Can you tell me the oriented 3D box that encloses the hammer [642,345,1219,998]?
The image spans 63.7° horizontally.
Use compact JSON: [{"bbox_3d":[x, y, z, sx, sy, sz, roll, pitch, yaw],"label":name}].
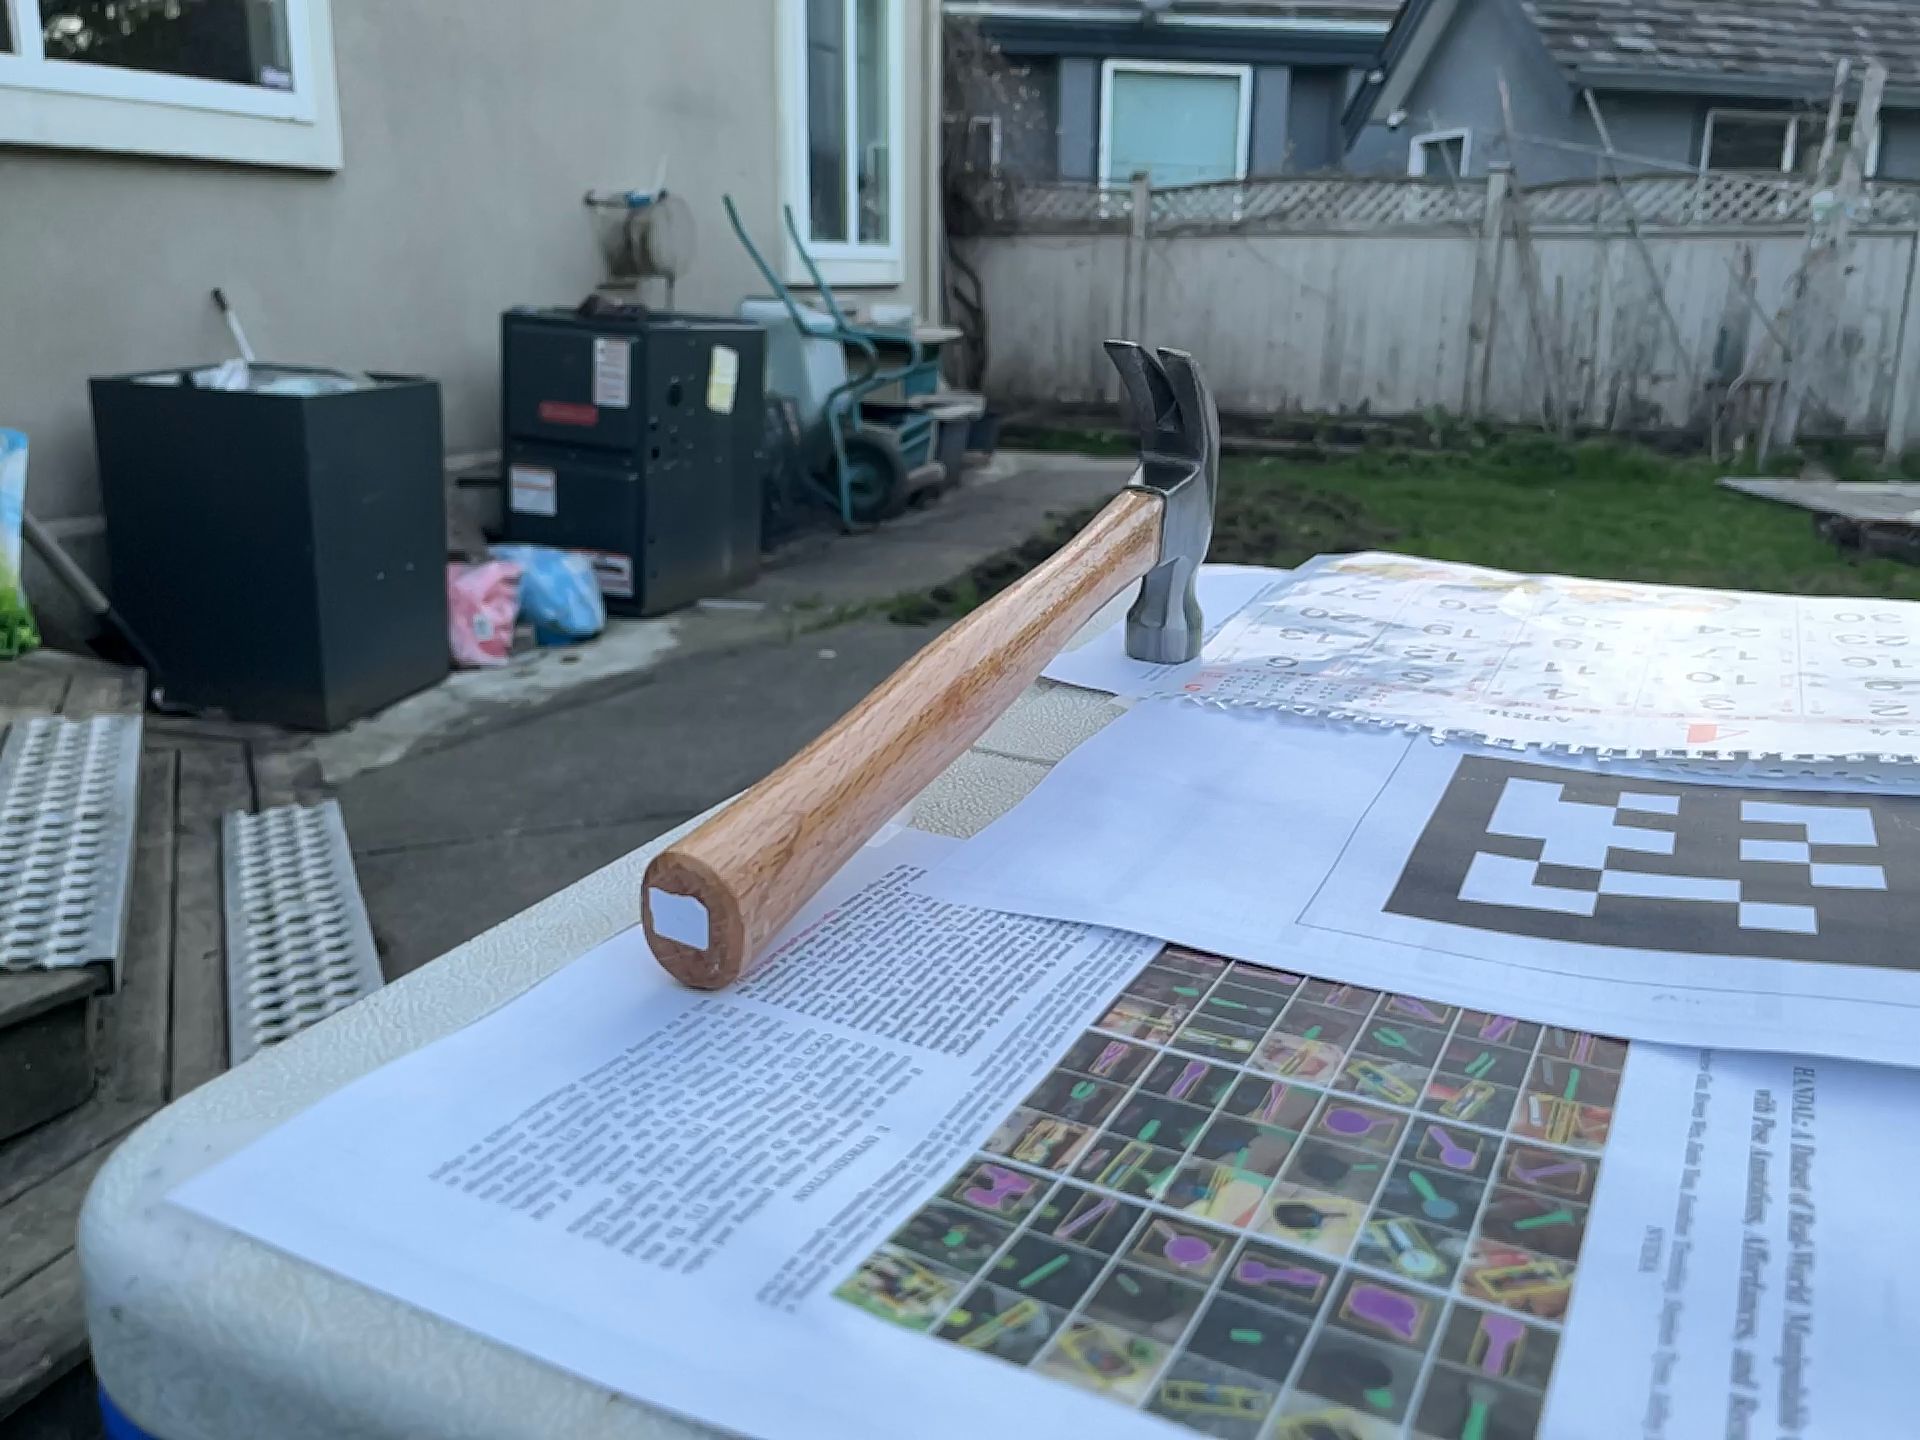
[{"bbox_3d":[0.014,-0.024,0.465,0.031,0.130,0.331,14,30,23],"label":"hammer"}]
